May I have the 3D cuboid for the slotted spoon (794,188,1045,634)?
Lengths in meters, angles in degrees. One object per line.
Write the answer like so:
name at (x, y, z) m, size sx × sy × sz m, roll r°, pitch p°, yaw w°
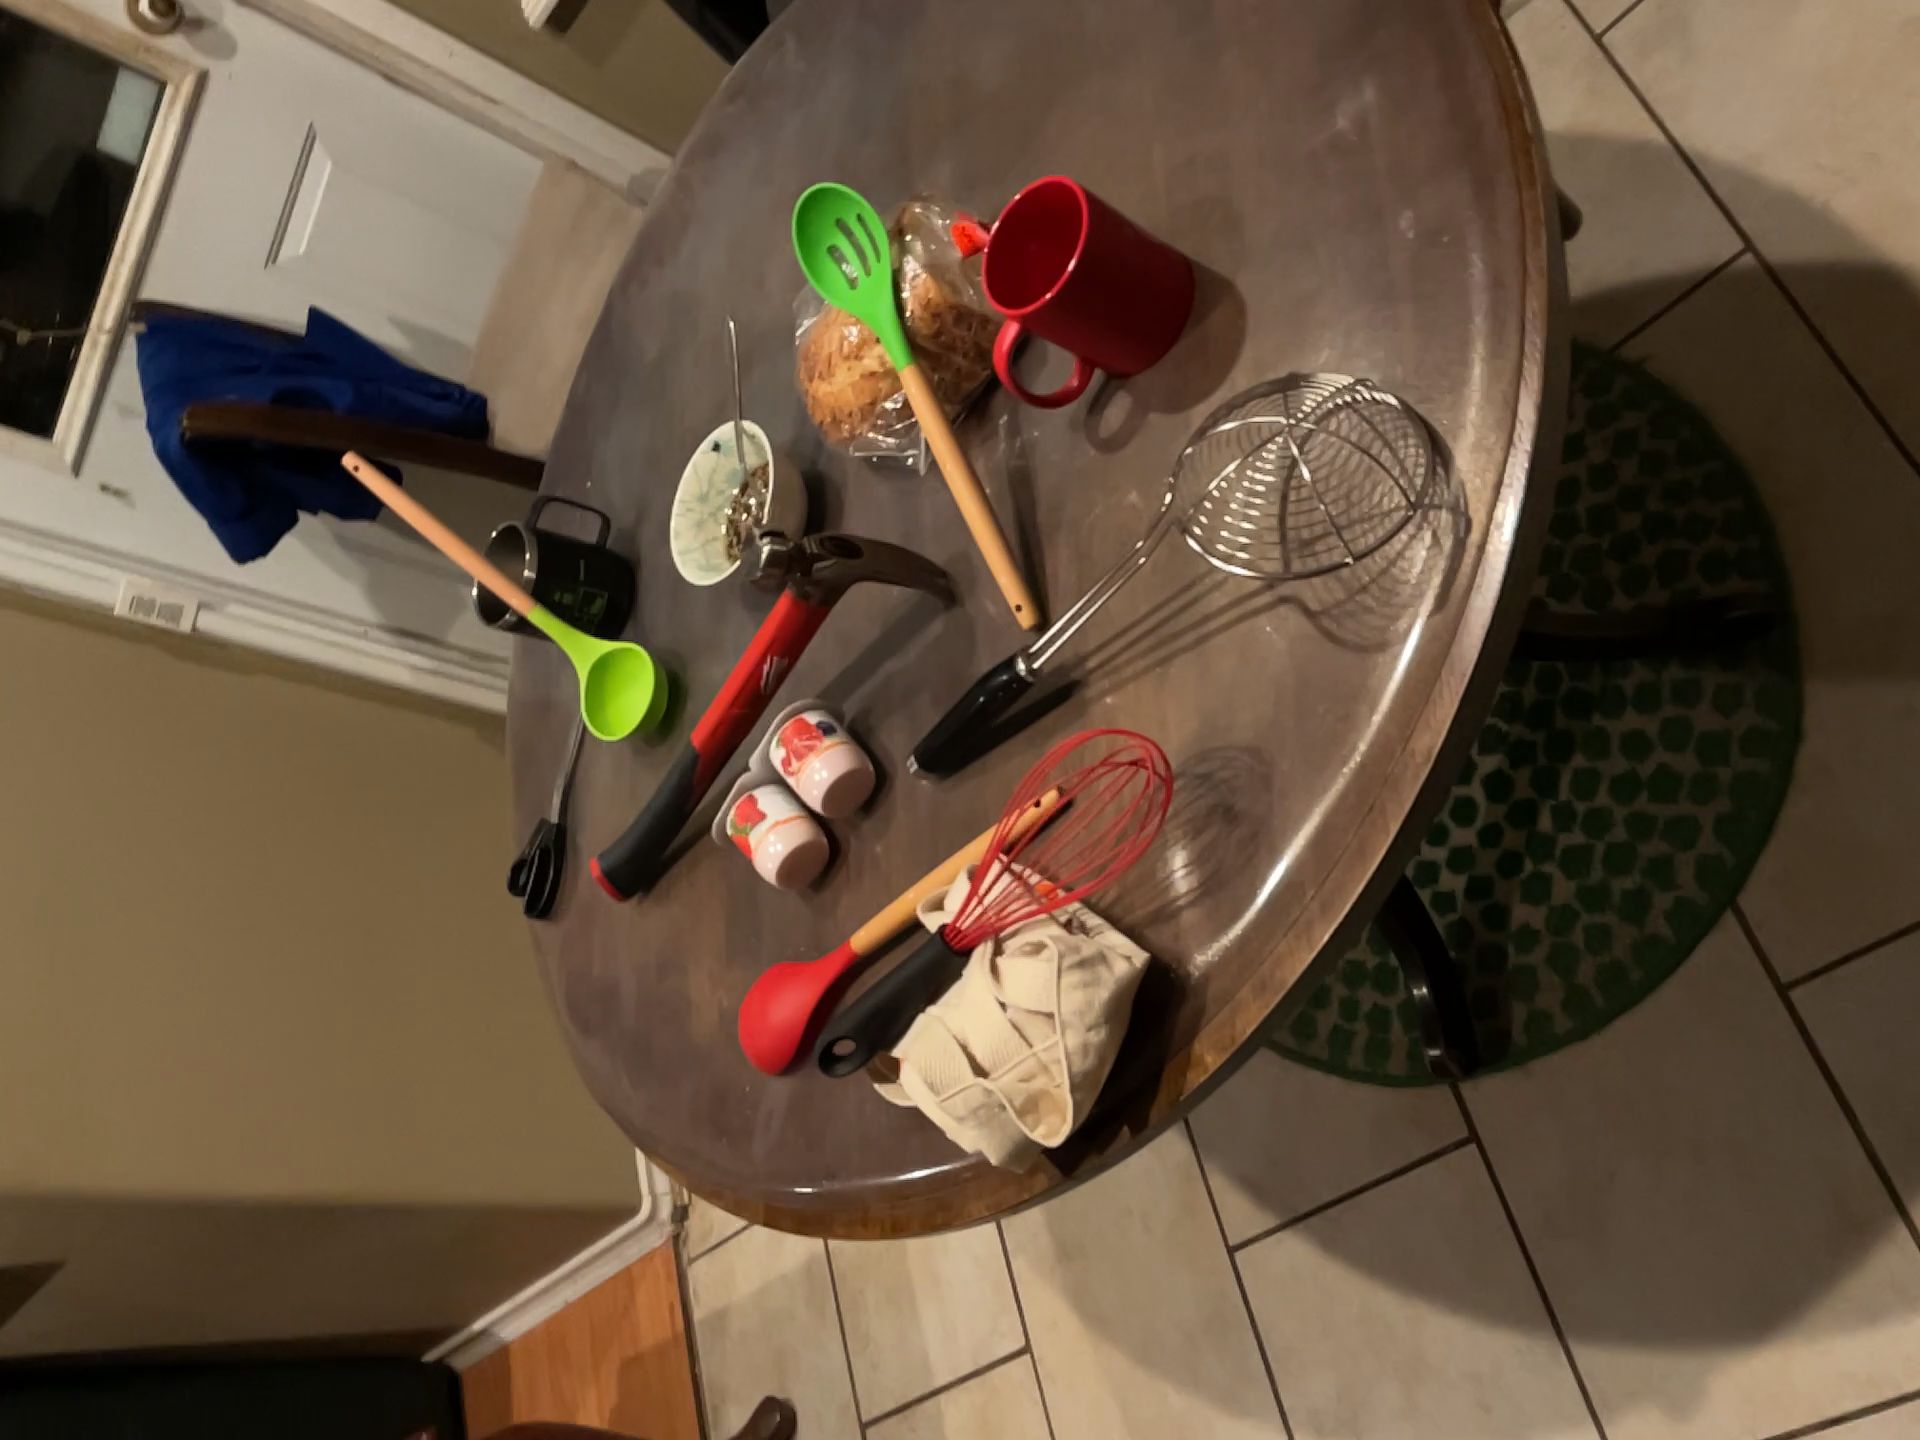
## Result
slotted spoon at (-0.021, -0.193, 0.983) m, size 0.070 × 0.031 × 0.314 m, roll -34°, pitch 77°, yaw 40°

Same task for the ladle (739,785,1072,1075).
ladle at (-0.044, 0.130, 0.983) m, size 0.315 × 0.031 × 0.069 m, roll -40°, pitch 52°, yaw 29°

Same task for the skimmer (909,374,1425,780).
skimmer at (0.097, -0.057, 0.888) m, size 0.363 × 0.090 × 0.127 m, roll -44°, pitch 41°, yaw 42°

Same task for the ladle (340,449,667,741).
ladle at (-0.358, -0.102, 1.228) m, size 0.078 × 0.320 × 0.062 m, roll -49°, pitch 3°, yaw 10°

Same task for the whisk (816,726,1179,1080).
whisk at (0.011, 0.109, 0.856) m, size 0.296 × 0.073 × 0.073 m, roll -47°, pitch 49°, yaw 27°

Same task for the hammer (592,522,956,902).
hammer at (-0.152, 0.011, 1.100) m, size 0.386 × 0.143 × 0.038 m, roll -51°, pitch 44°, yaw 39°
